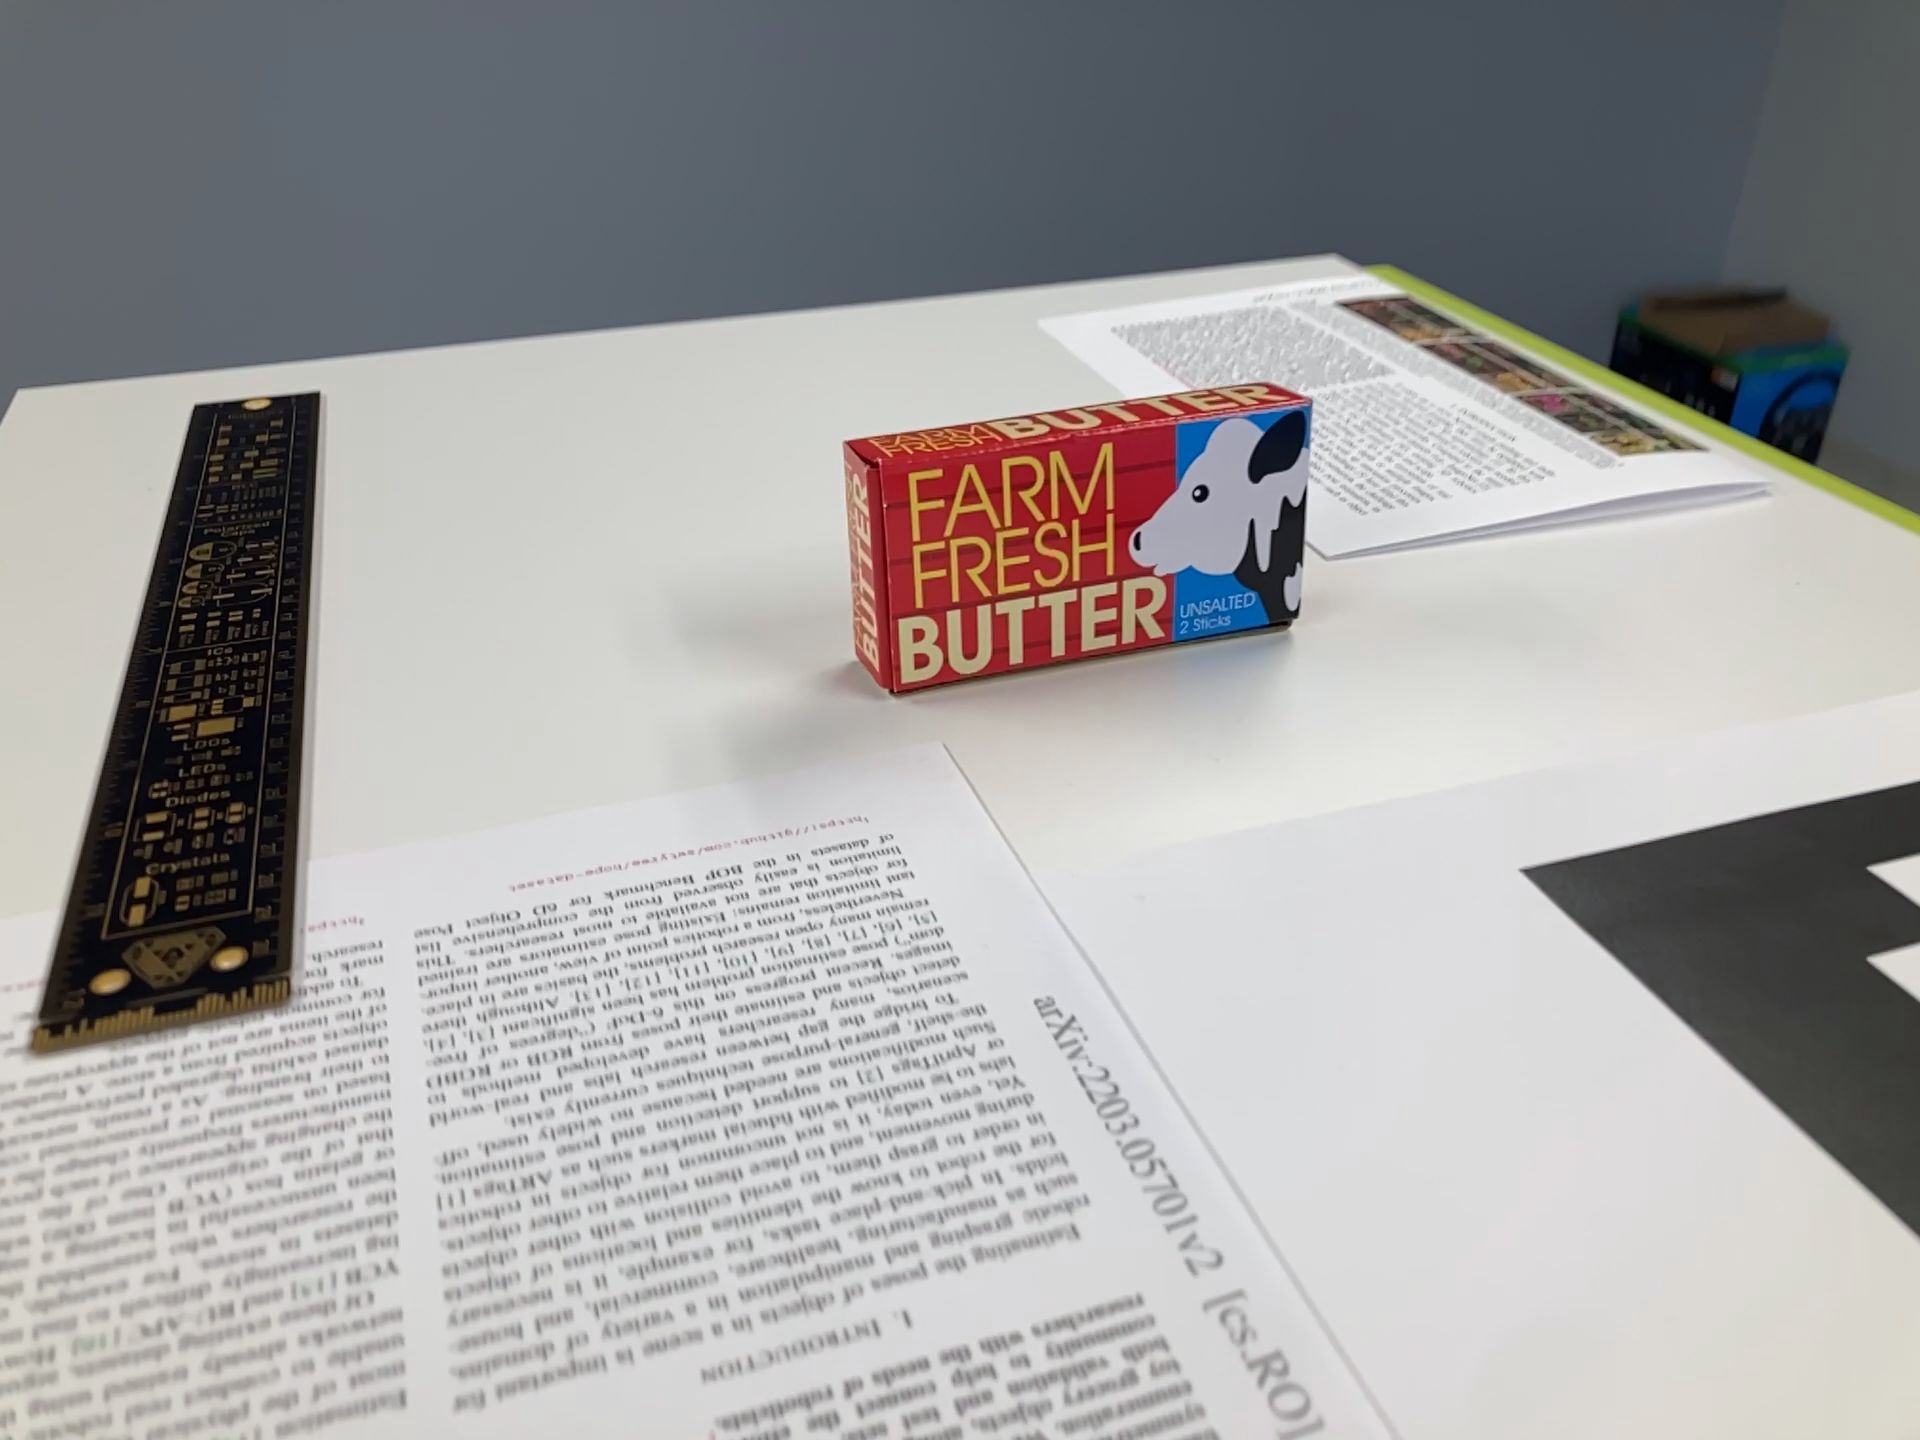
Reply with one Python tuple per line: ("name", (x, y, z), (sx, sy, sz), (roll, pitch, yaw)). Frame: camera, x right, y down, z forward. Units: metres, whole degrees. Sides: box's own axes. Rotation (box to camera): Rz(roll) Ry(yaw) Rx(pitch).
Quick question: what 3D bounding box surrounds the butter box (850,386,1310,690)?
("butter box", (0.028, -0.043, 0.360), (0.103, 0.053, 0.024), (-10, 27, -16))
